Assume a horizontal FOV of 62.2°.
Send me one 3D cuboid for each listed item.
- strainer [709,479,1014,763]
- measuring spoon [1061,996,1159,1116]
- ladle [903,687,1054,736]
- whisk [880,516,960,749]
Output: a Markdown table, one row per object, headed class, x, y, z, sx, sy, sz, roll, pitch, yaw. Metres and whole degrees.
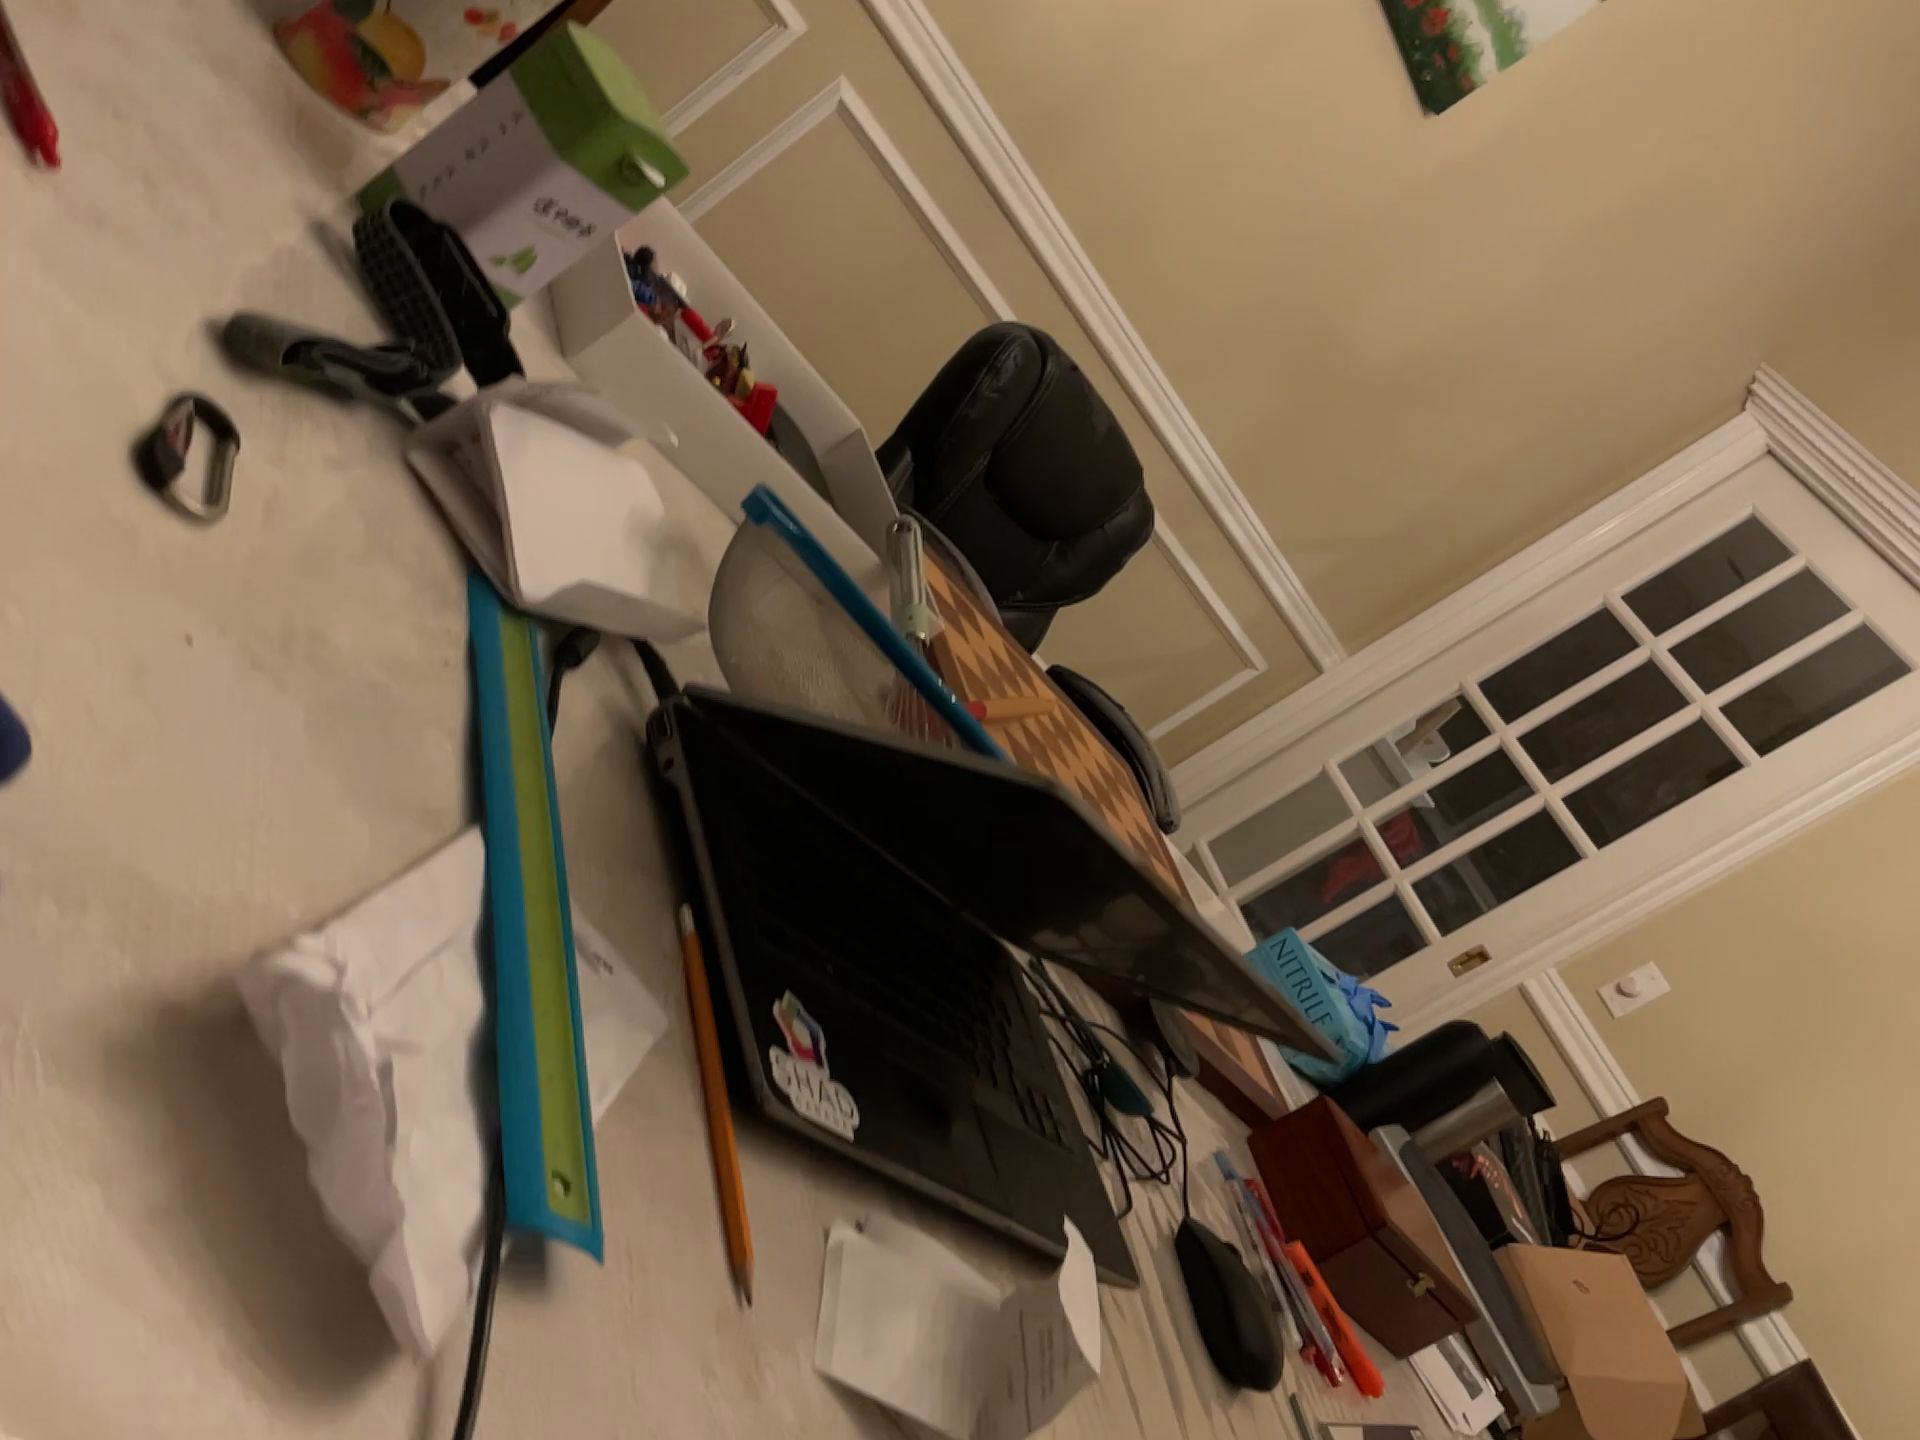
| class | x | y | z | sx | sy | sz | roll | pitch | yaw |
| --- | --- | --- | --- | --- | --- | --- | --- | --- | --- |
| strainer | -0.028 | 0.028 | 0.861 | 0.340 | 0.095 | 0.211 | 50 | 0 | -5 |
| measuring spoon | 0.080 | 0.207 | 1.031 | 0.129 | 0.021 | 0.042 | 49 | 1 | 22 |
| ladle | 0.024 | -0.010 | 1.249 | 0.069 | 0.031 | 0.315 | 37 | 12 | 16 |
| whisk | -0.033 | -0.044 | 1.058 | 0.059 | 0.057 | 0.247 | 89 | -4 | -53 |
